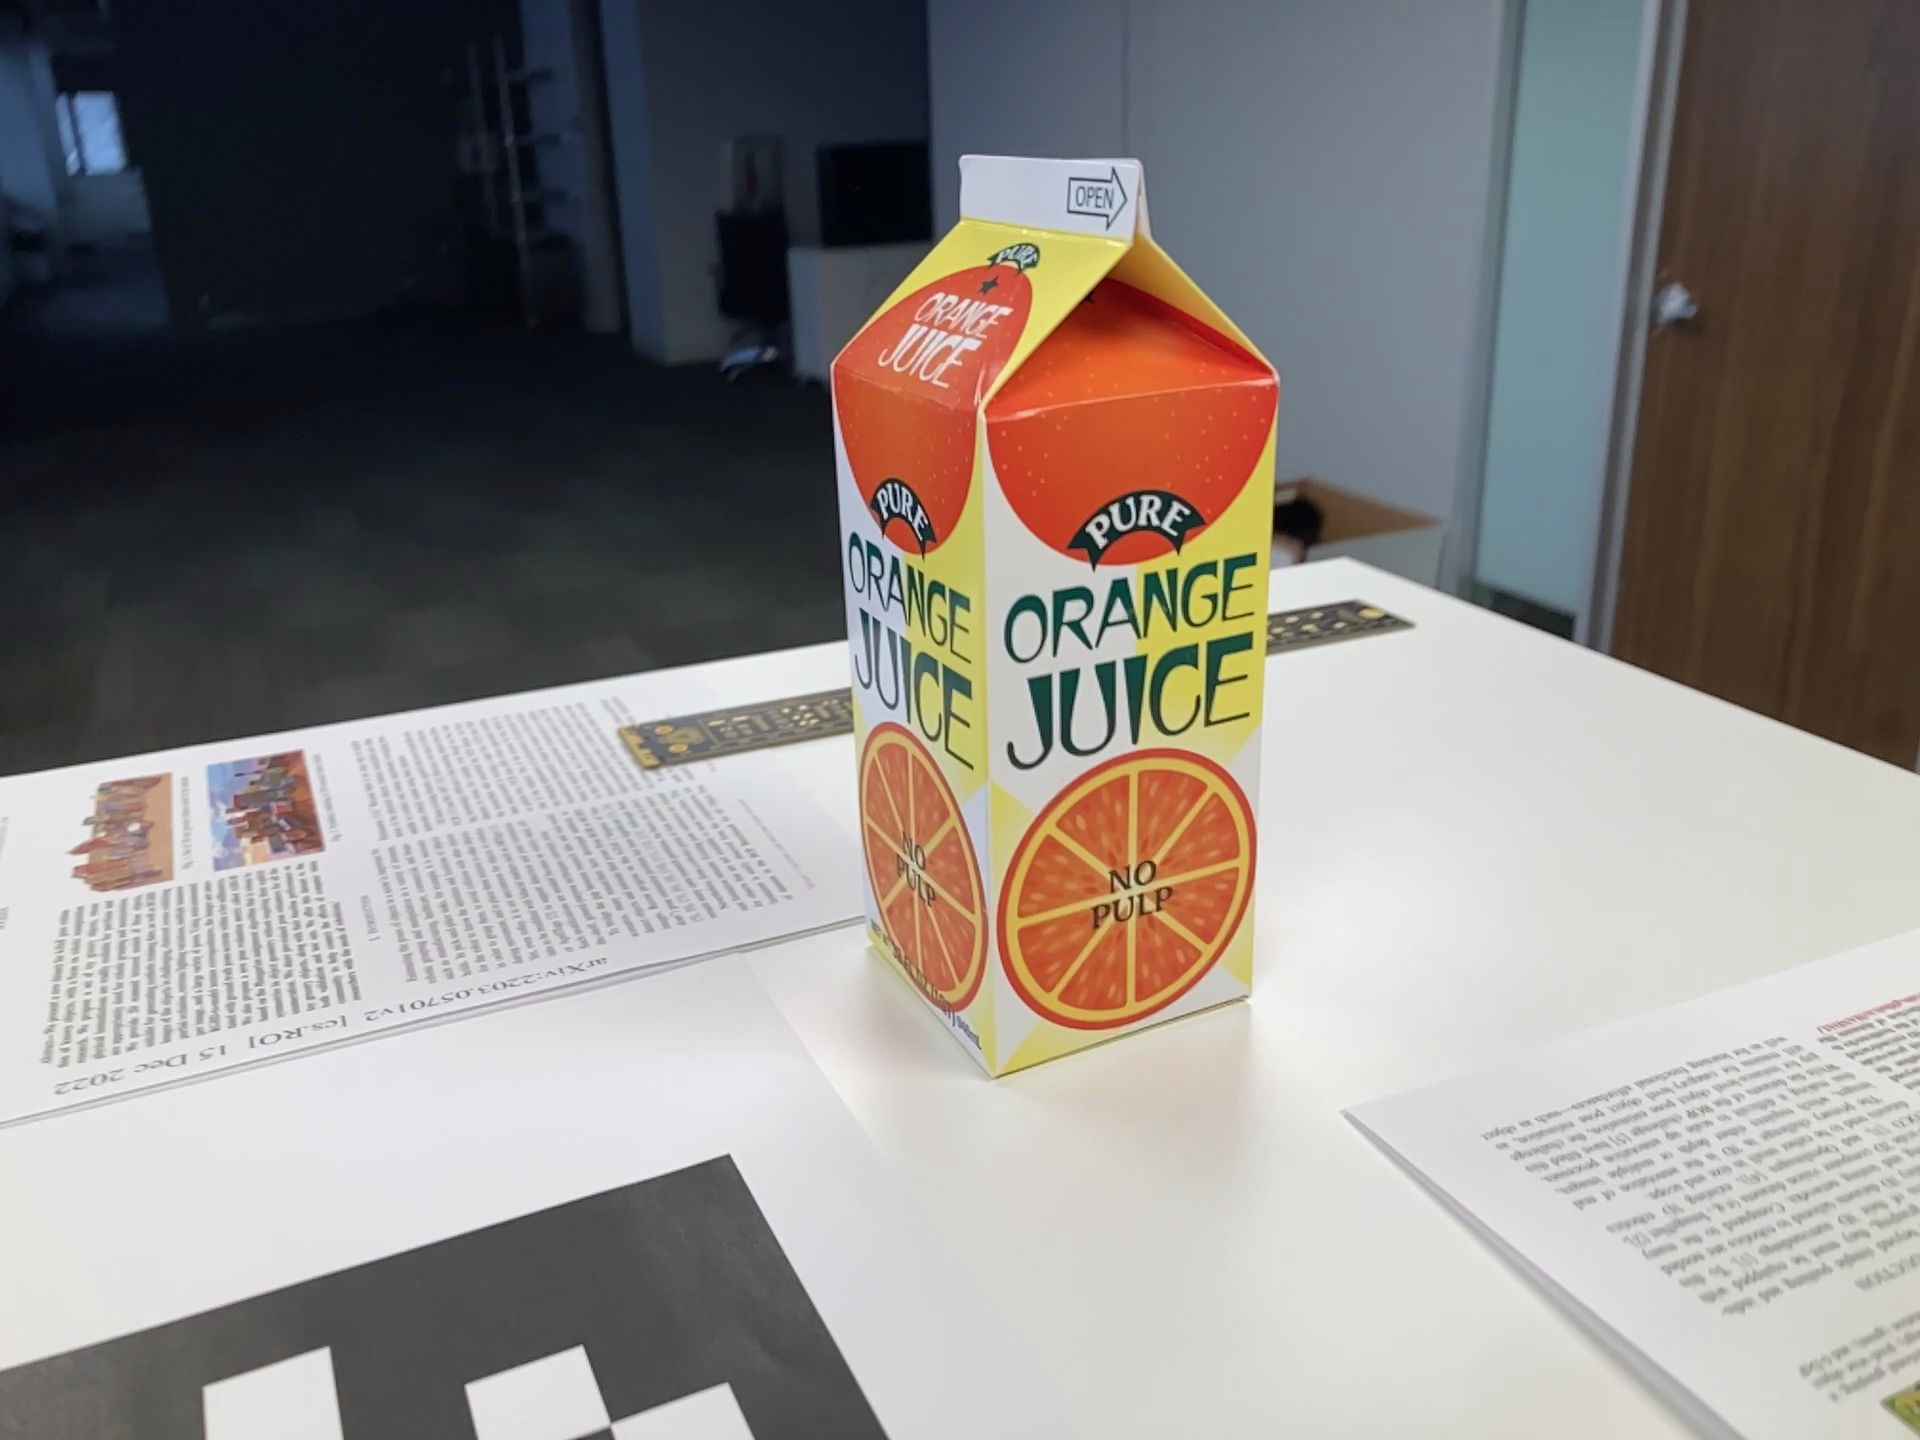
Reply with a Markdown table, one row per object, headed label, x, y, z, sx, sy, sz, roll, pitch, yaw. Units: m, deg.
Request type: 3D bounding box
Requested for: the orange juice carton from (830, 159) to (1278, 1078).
| label | x | y | z | sx | sy | sz | roll | pitch | yaw |
| --- | --- | --- | --- | --- | --- | --- | --- | --- | --- |
| orange juice carton | 0.020 | -0.025 | 0.359 | 0.073 | 0.192 | 0.072 | -12 | 24 | -24 |
